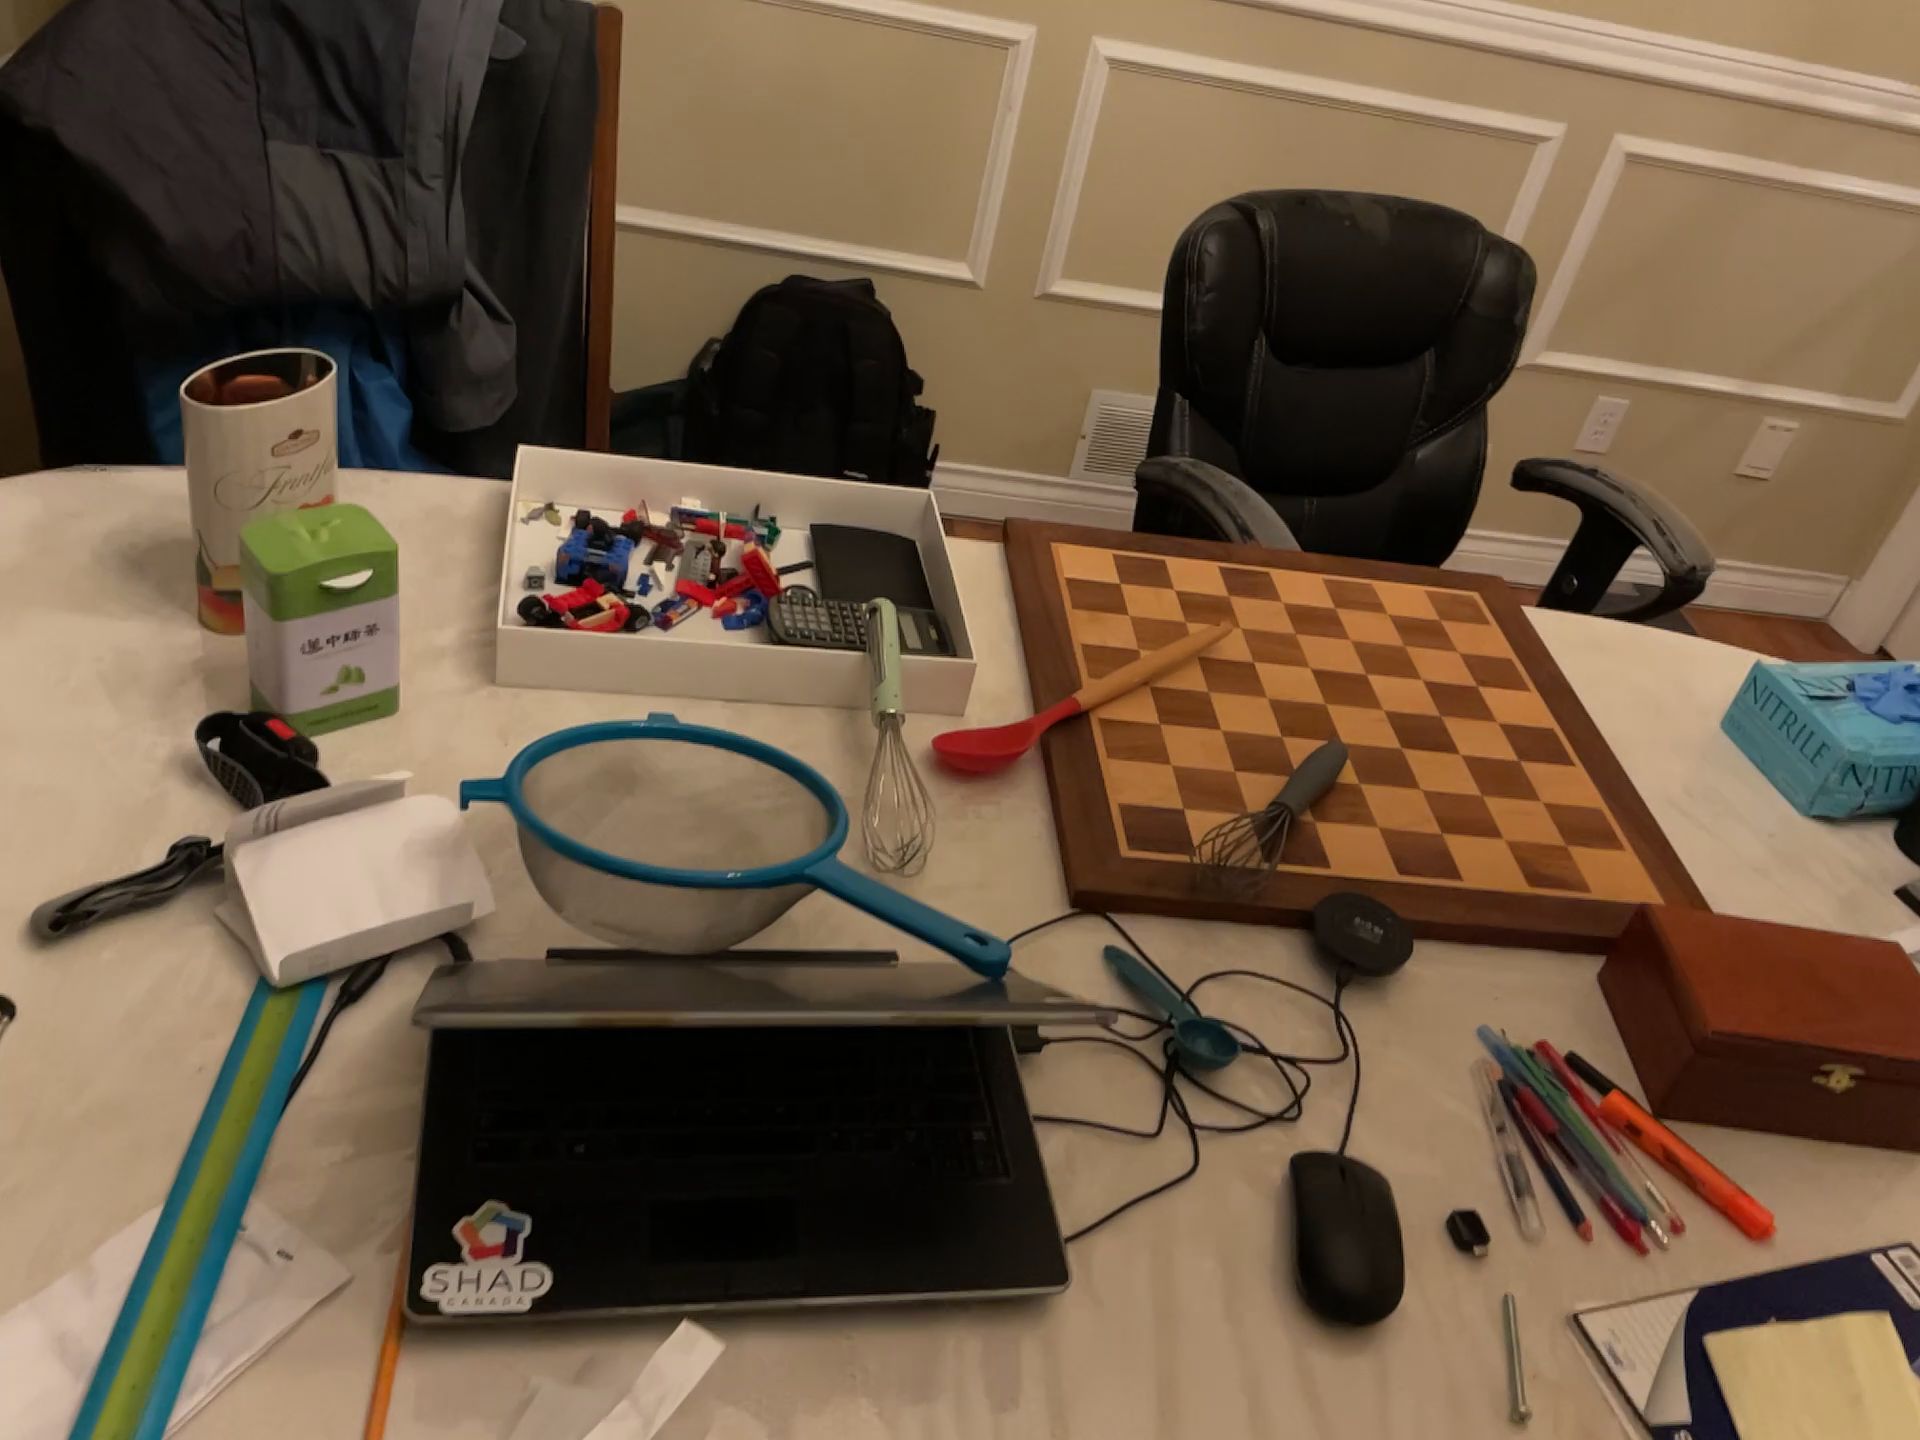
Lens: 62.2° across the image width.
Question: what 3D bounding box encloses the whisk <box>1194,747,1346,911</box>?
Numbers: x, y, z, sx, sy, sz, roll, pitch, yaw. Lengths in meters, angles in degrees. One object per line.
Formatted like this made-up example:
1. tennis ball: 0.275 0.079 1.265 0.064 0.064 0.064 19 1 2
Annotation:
1. whisk: 0.233 0.071 1.155 0.055 0.055 0.239 41 38 12

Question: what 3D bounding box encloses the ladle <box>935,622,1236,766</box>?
1. ladle: 0.109 -0.024 1.249 0.315 0.031 0.069 -24 29 -34

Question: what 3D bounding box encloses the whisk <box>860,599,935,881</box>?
1. whisk: -0.051 0.008 1.132 0.059 0.058 0.247 27 41 -35

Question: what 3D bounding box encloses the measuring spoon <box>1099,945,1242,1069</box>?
1. measuring spoon: 0.128 0.185 1.017 0.042 0.021 0.129 -4 27 -35

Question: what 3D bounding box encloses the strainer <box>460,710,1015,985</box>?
1. strainer: -0.124 0.107 0.962 0.341 0.095 0.211 24 24 22
